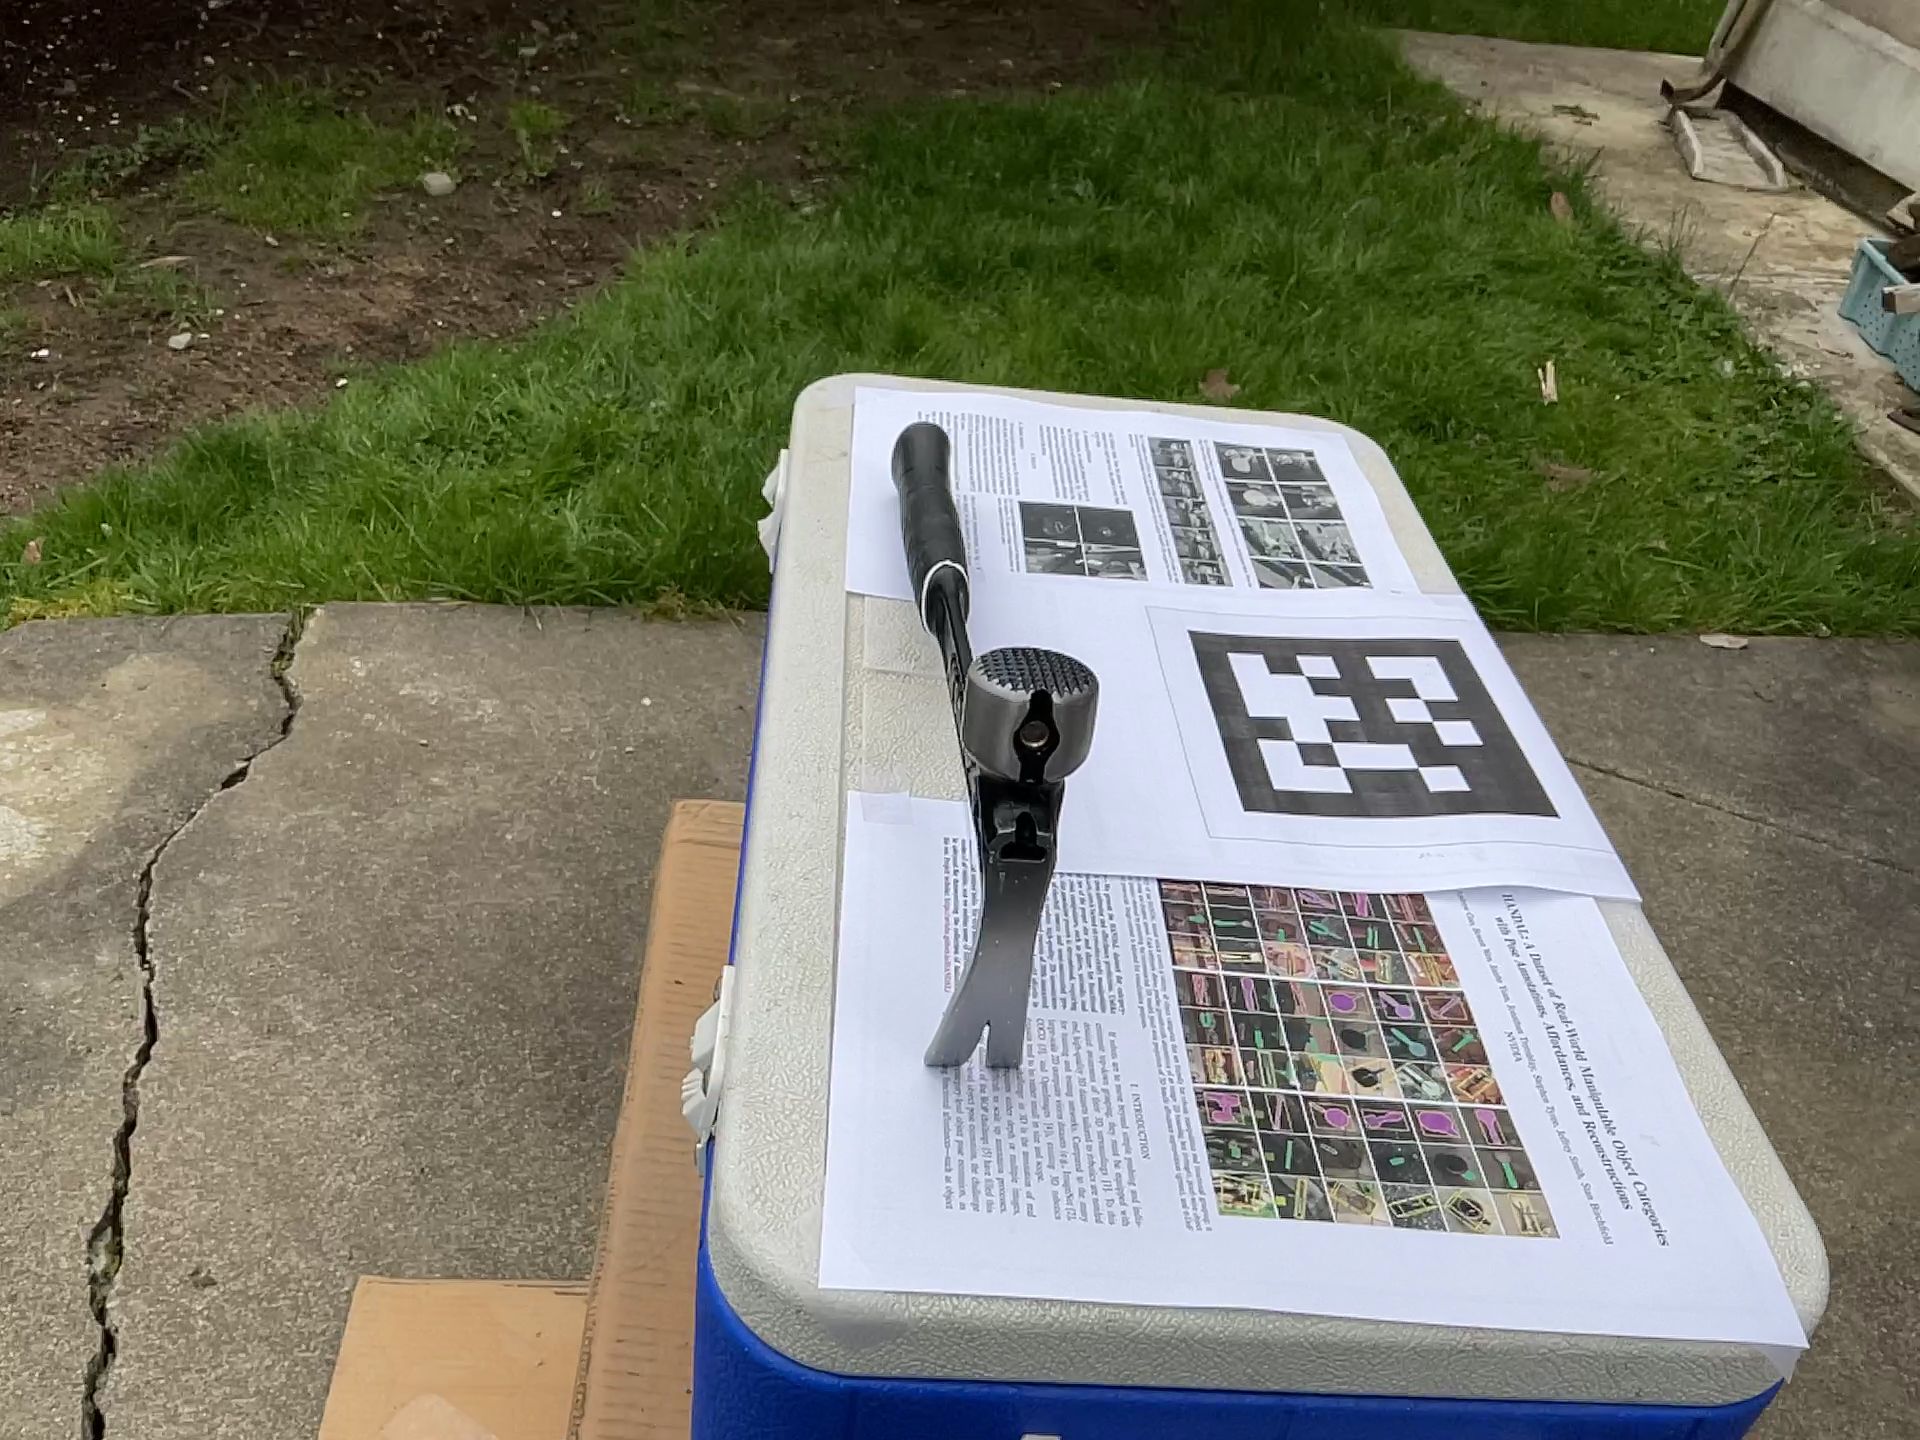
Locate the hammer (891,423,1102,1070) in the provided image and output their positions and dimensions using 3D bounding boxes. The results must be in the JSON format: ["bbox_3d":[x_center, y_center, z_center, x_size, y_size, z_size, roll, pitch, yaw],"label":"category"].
[{"bbox_3d":[-0.003,-0.033,0.624,0.036,0.149,0.409,3,27,-7],"label":"hammer"}]
